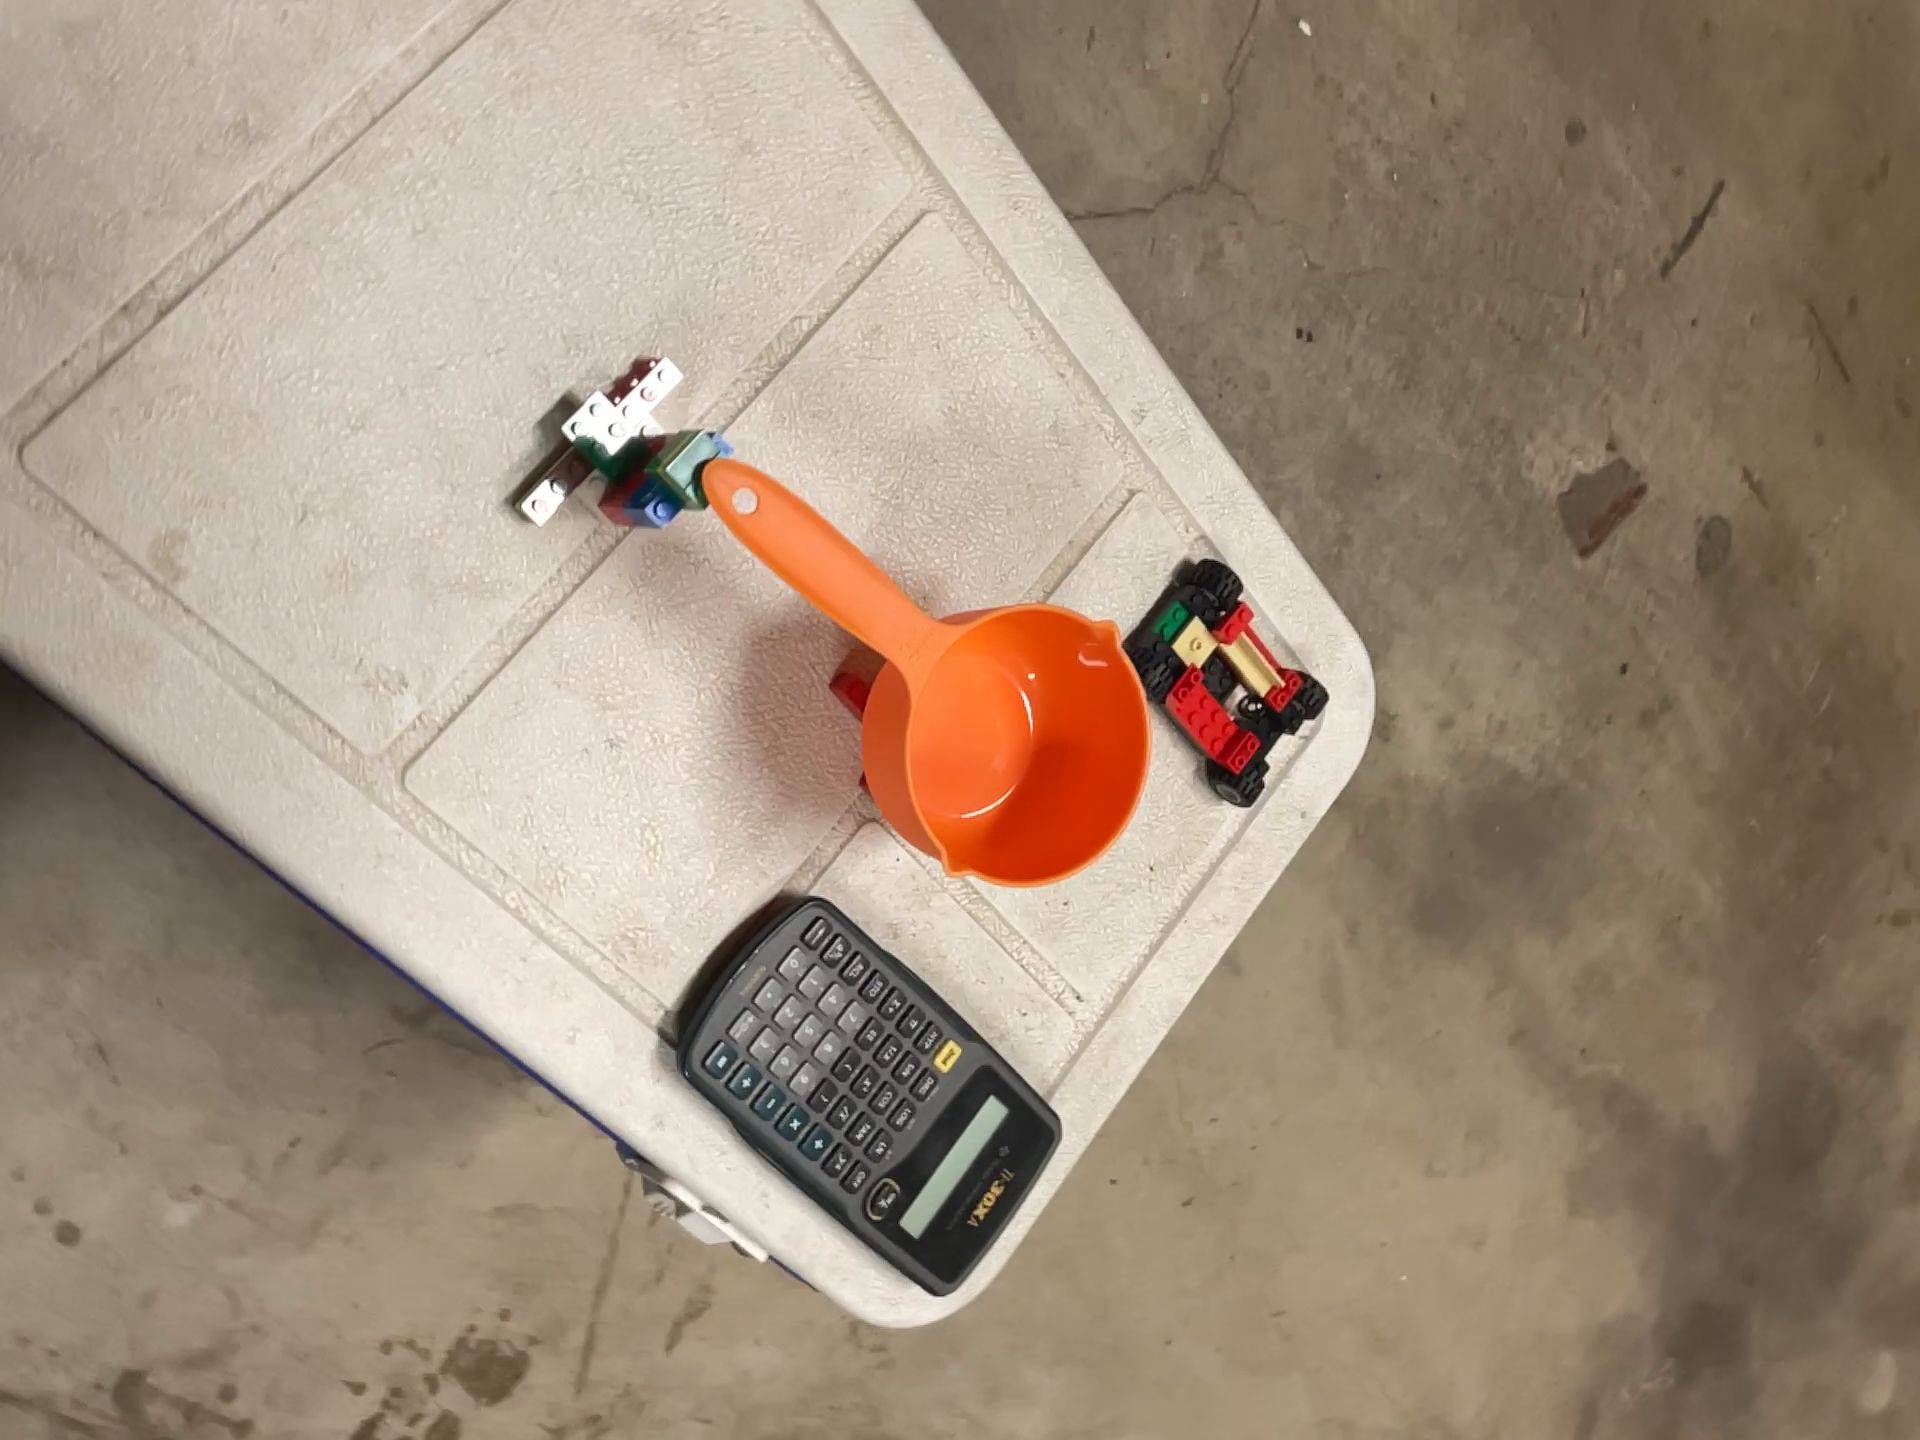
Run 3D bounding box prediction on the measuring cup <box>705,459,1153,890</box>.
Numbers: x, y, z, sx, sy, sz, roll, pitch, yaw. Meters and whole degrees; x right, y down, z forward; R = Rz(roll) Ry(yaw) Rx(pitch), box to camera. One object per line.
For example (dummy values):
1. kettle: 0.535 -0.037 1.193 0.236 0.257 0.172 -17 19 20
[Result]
1. measuring cup: -0.018 -0.019 0.489 0.173 0.052 0.095 41 75 -24
